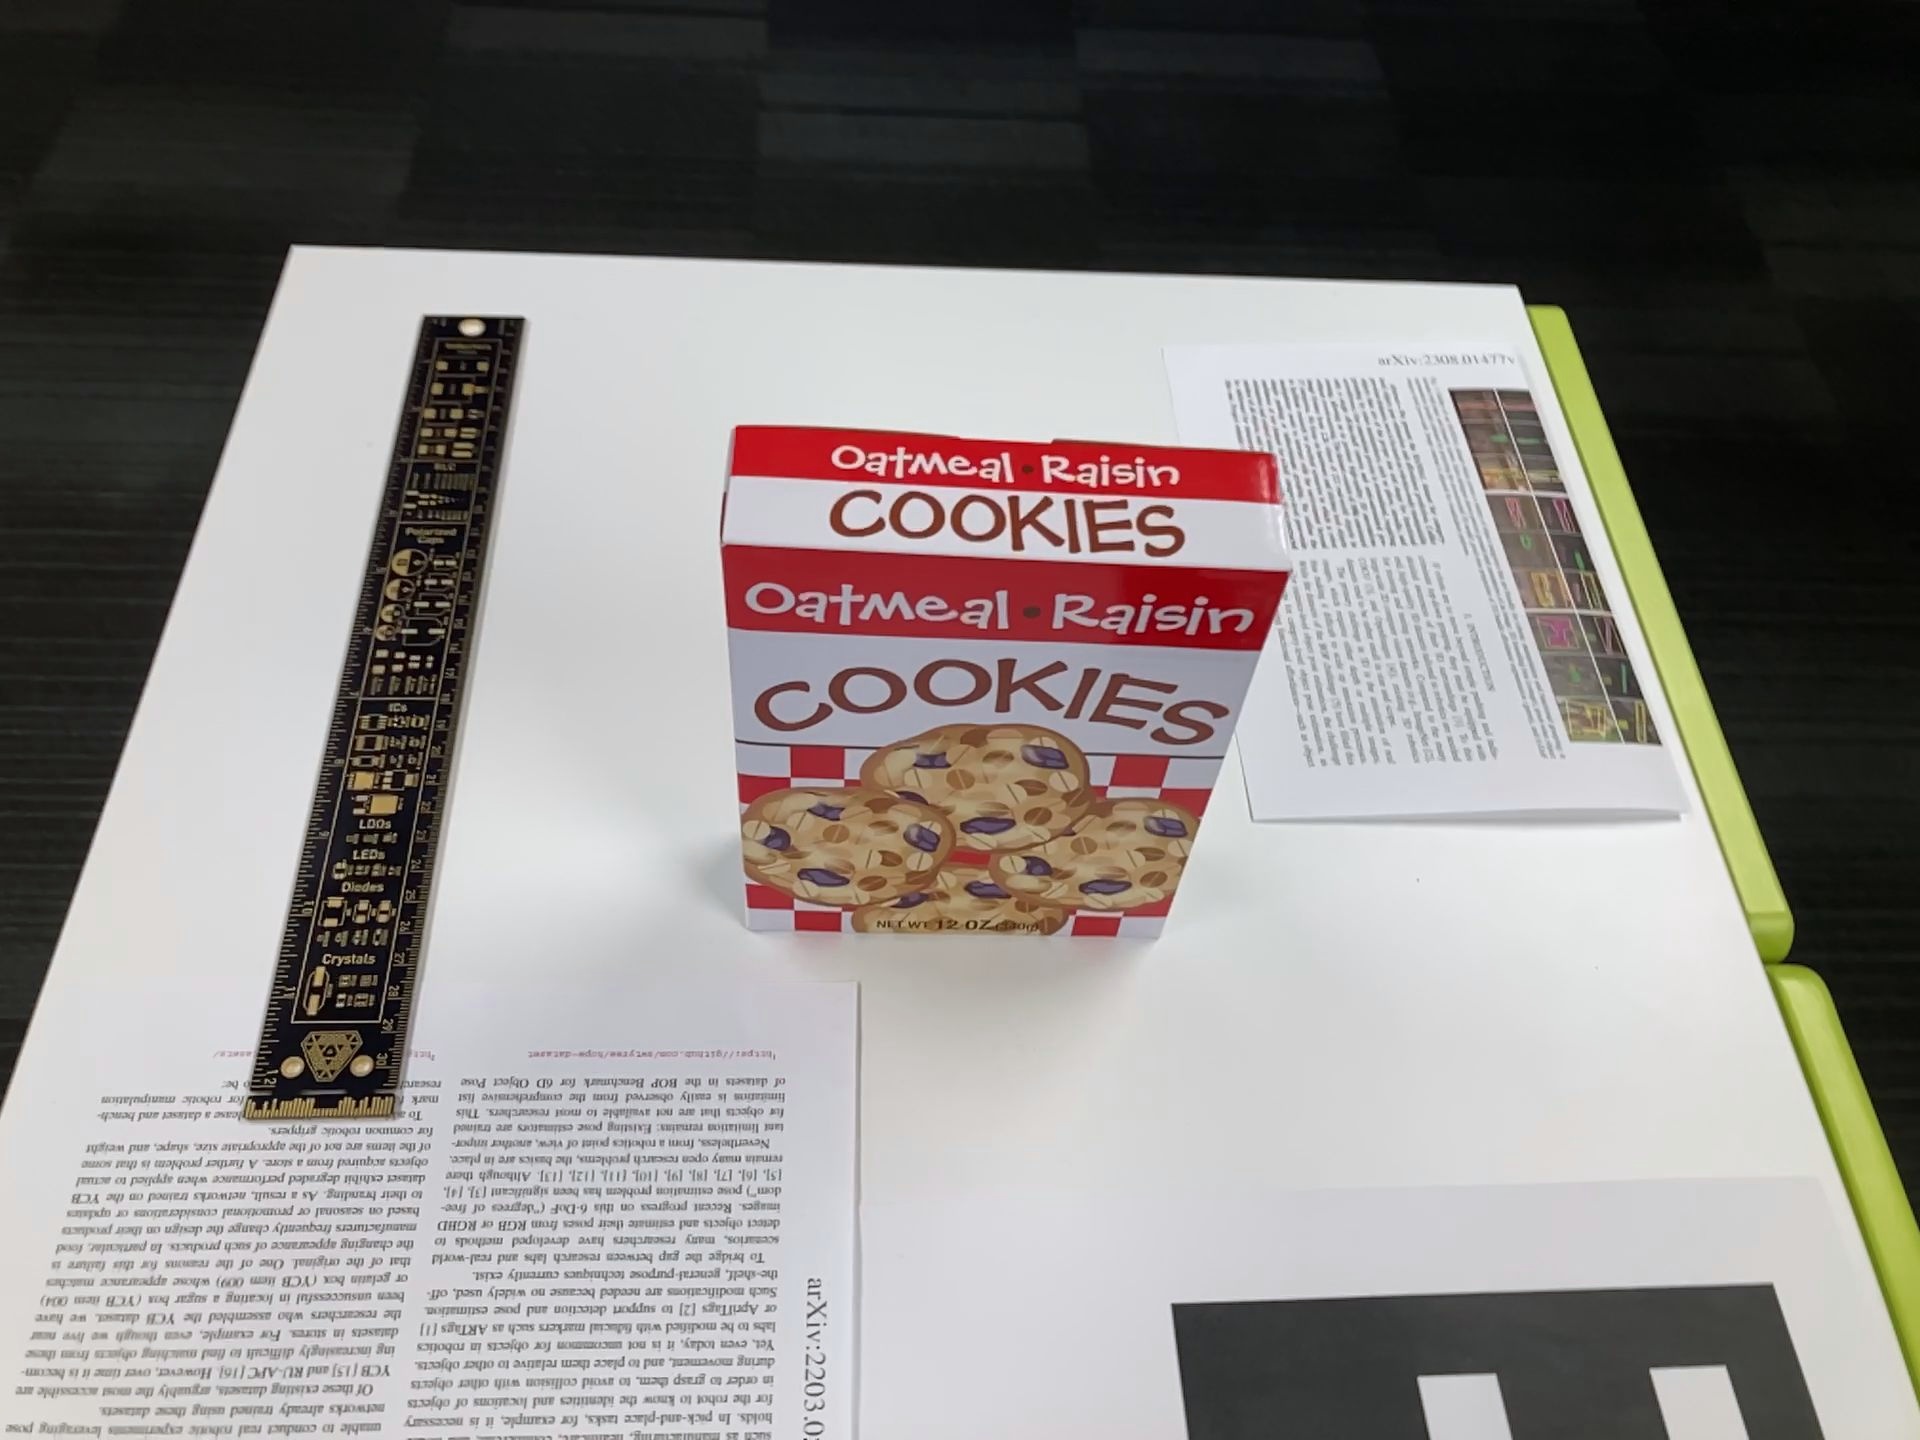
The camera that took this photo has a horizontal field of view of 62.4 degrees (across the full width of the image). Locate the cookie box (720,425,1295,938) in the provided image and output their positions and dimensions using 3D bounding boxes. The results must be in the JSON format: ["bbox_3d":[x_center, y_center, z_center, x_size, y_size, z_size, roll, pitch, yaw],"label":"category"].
[{"bbox_3d":[0.005,-0.001,0.407,0.123,0.167,0.040,2,54,-3],"label":"cookie box"}]
